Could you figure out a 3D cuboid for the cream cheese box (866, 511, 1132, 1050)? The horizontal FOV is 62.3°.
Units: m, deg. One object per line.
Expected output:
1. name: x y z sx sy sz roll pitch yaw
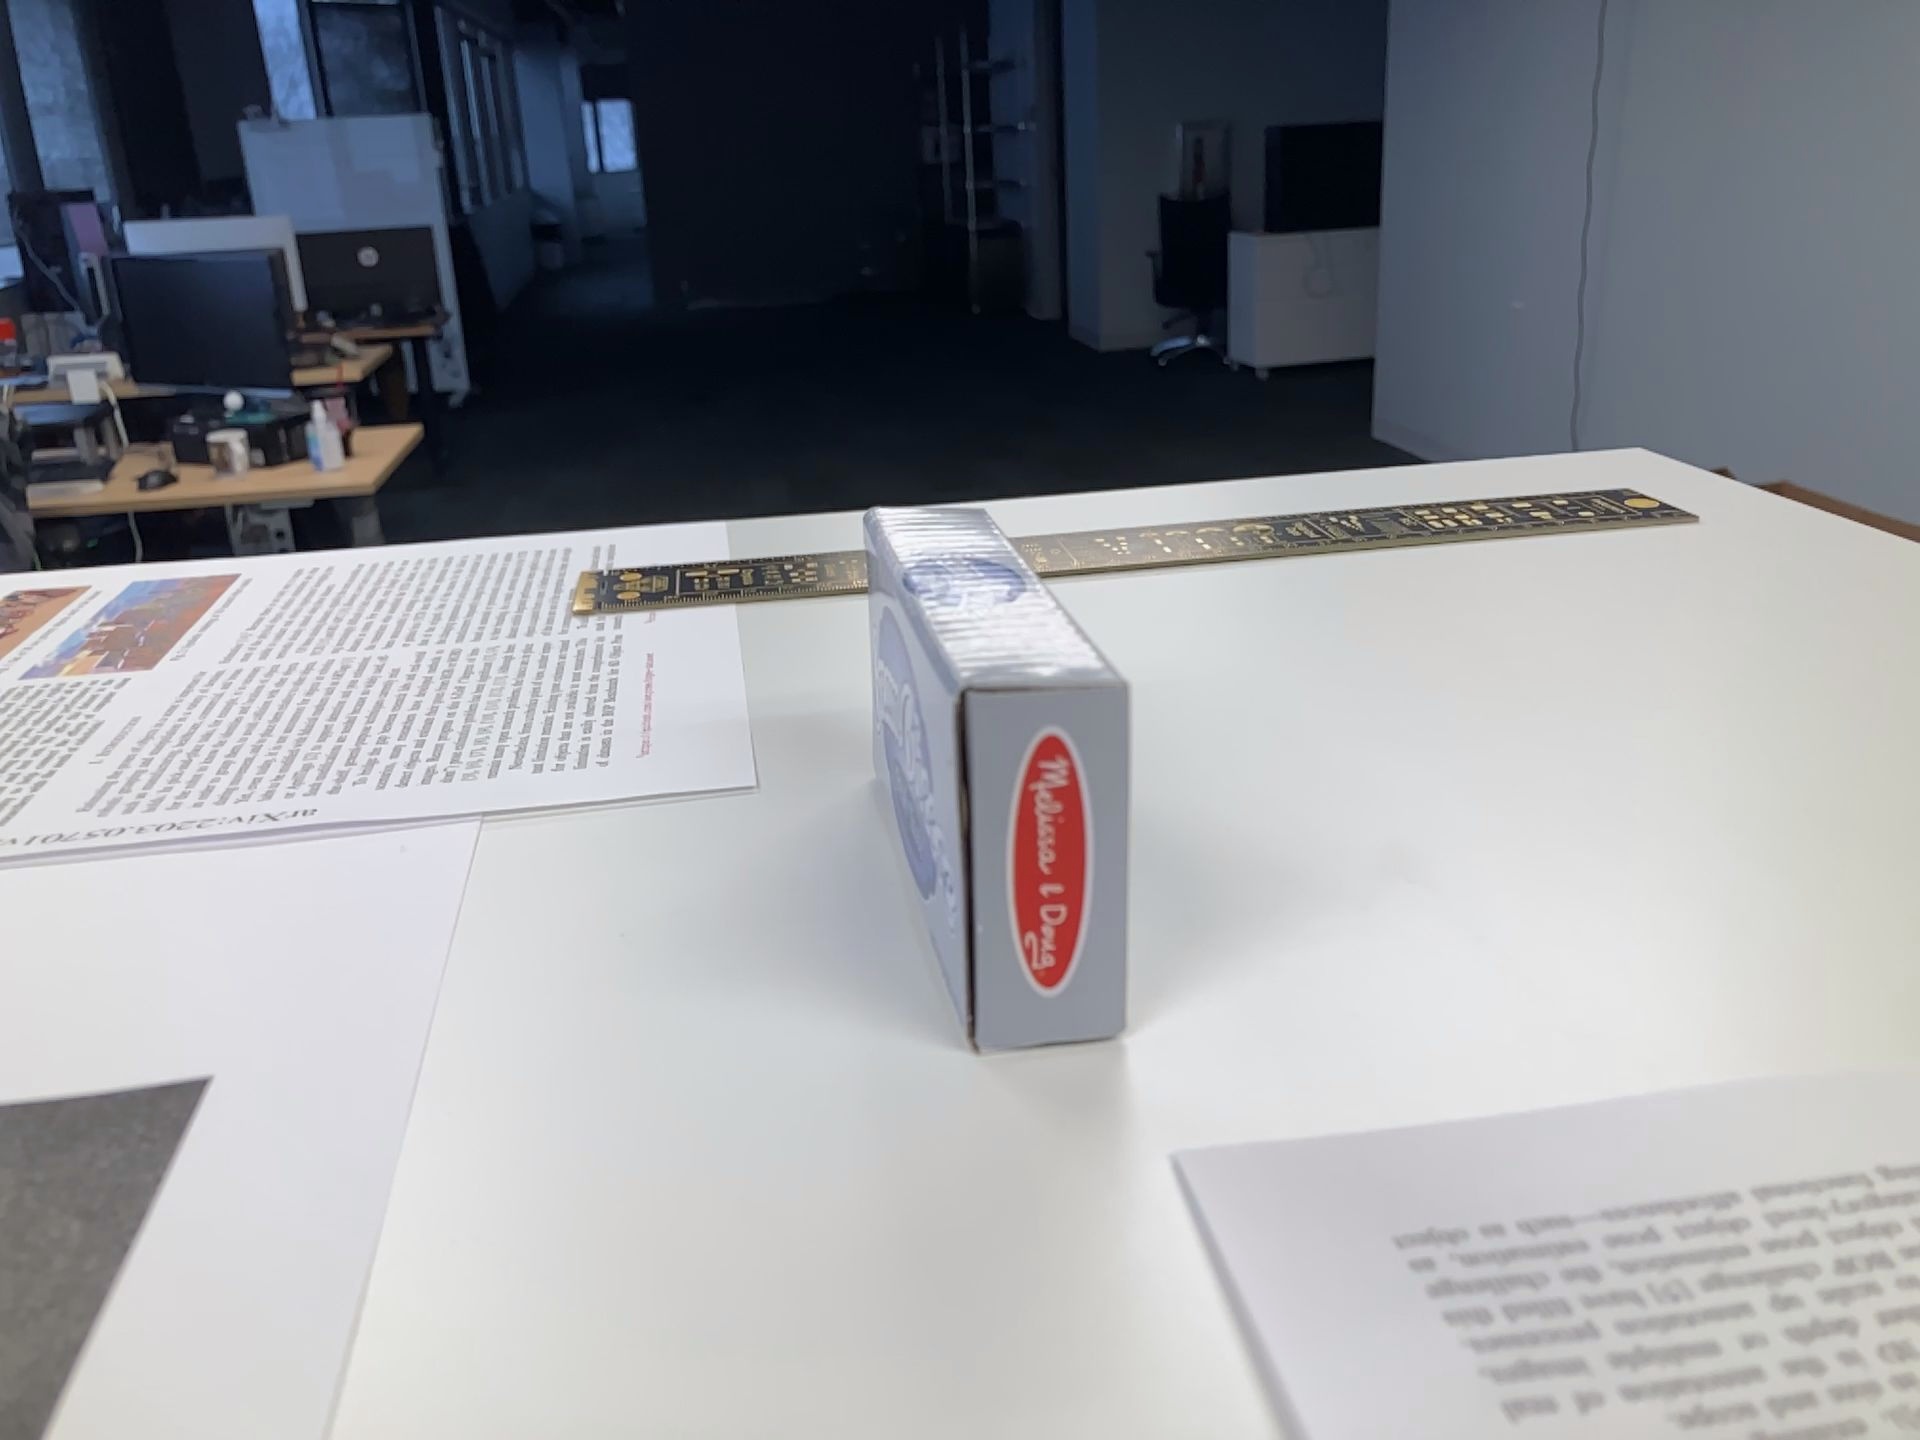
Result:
1. cream cheese box: 0.003 0.003 0.254 0.024 0.053 0.104 -4 20 -9
